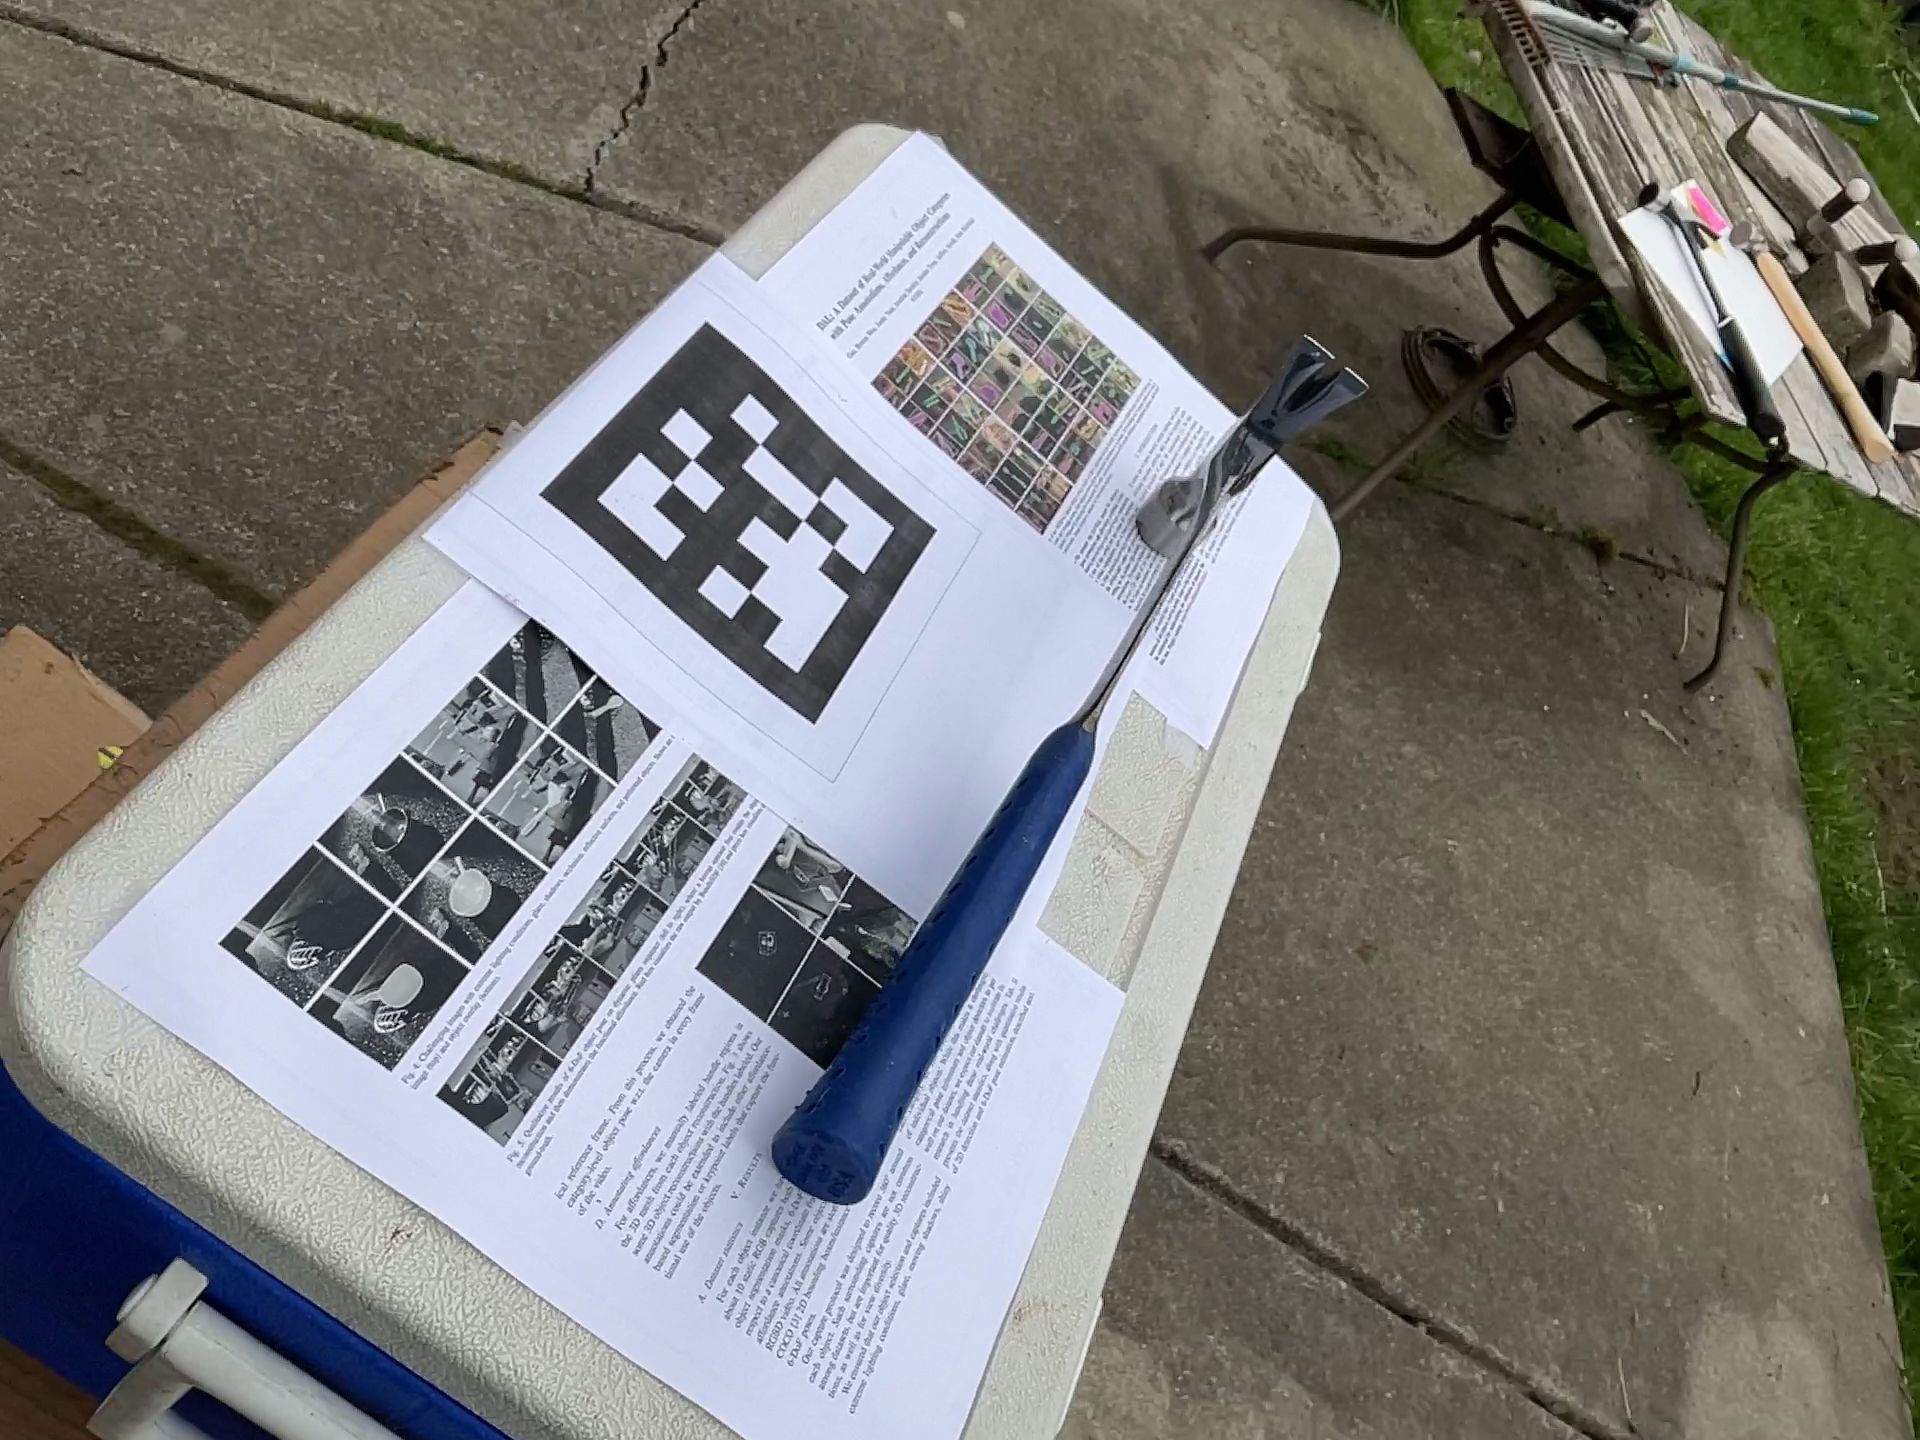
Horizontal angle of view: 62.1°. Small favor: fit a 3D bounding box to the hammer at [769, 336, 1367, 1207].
[{"bbox_3d":[0.048,-0.001,0.599,0.035,0.144,0.405,37,52,-5],"label":"hammer"}]
